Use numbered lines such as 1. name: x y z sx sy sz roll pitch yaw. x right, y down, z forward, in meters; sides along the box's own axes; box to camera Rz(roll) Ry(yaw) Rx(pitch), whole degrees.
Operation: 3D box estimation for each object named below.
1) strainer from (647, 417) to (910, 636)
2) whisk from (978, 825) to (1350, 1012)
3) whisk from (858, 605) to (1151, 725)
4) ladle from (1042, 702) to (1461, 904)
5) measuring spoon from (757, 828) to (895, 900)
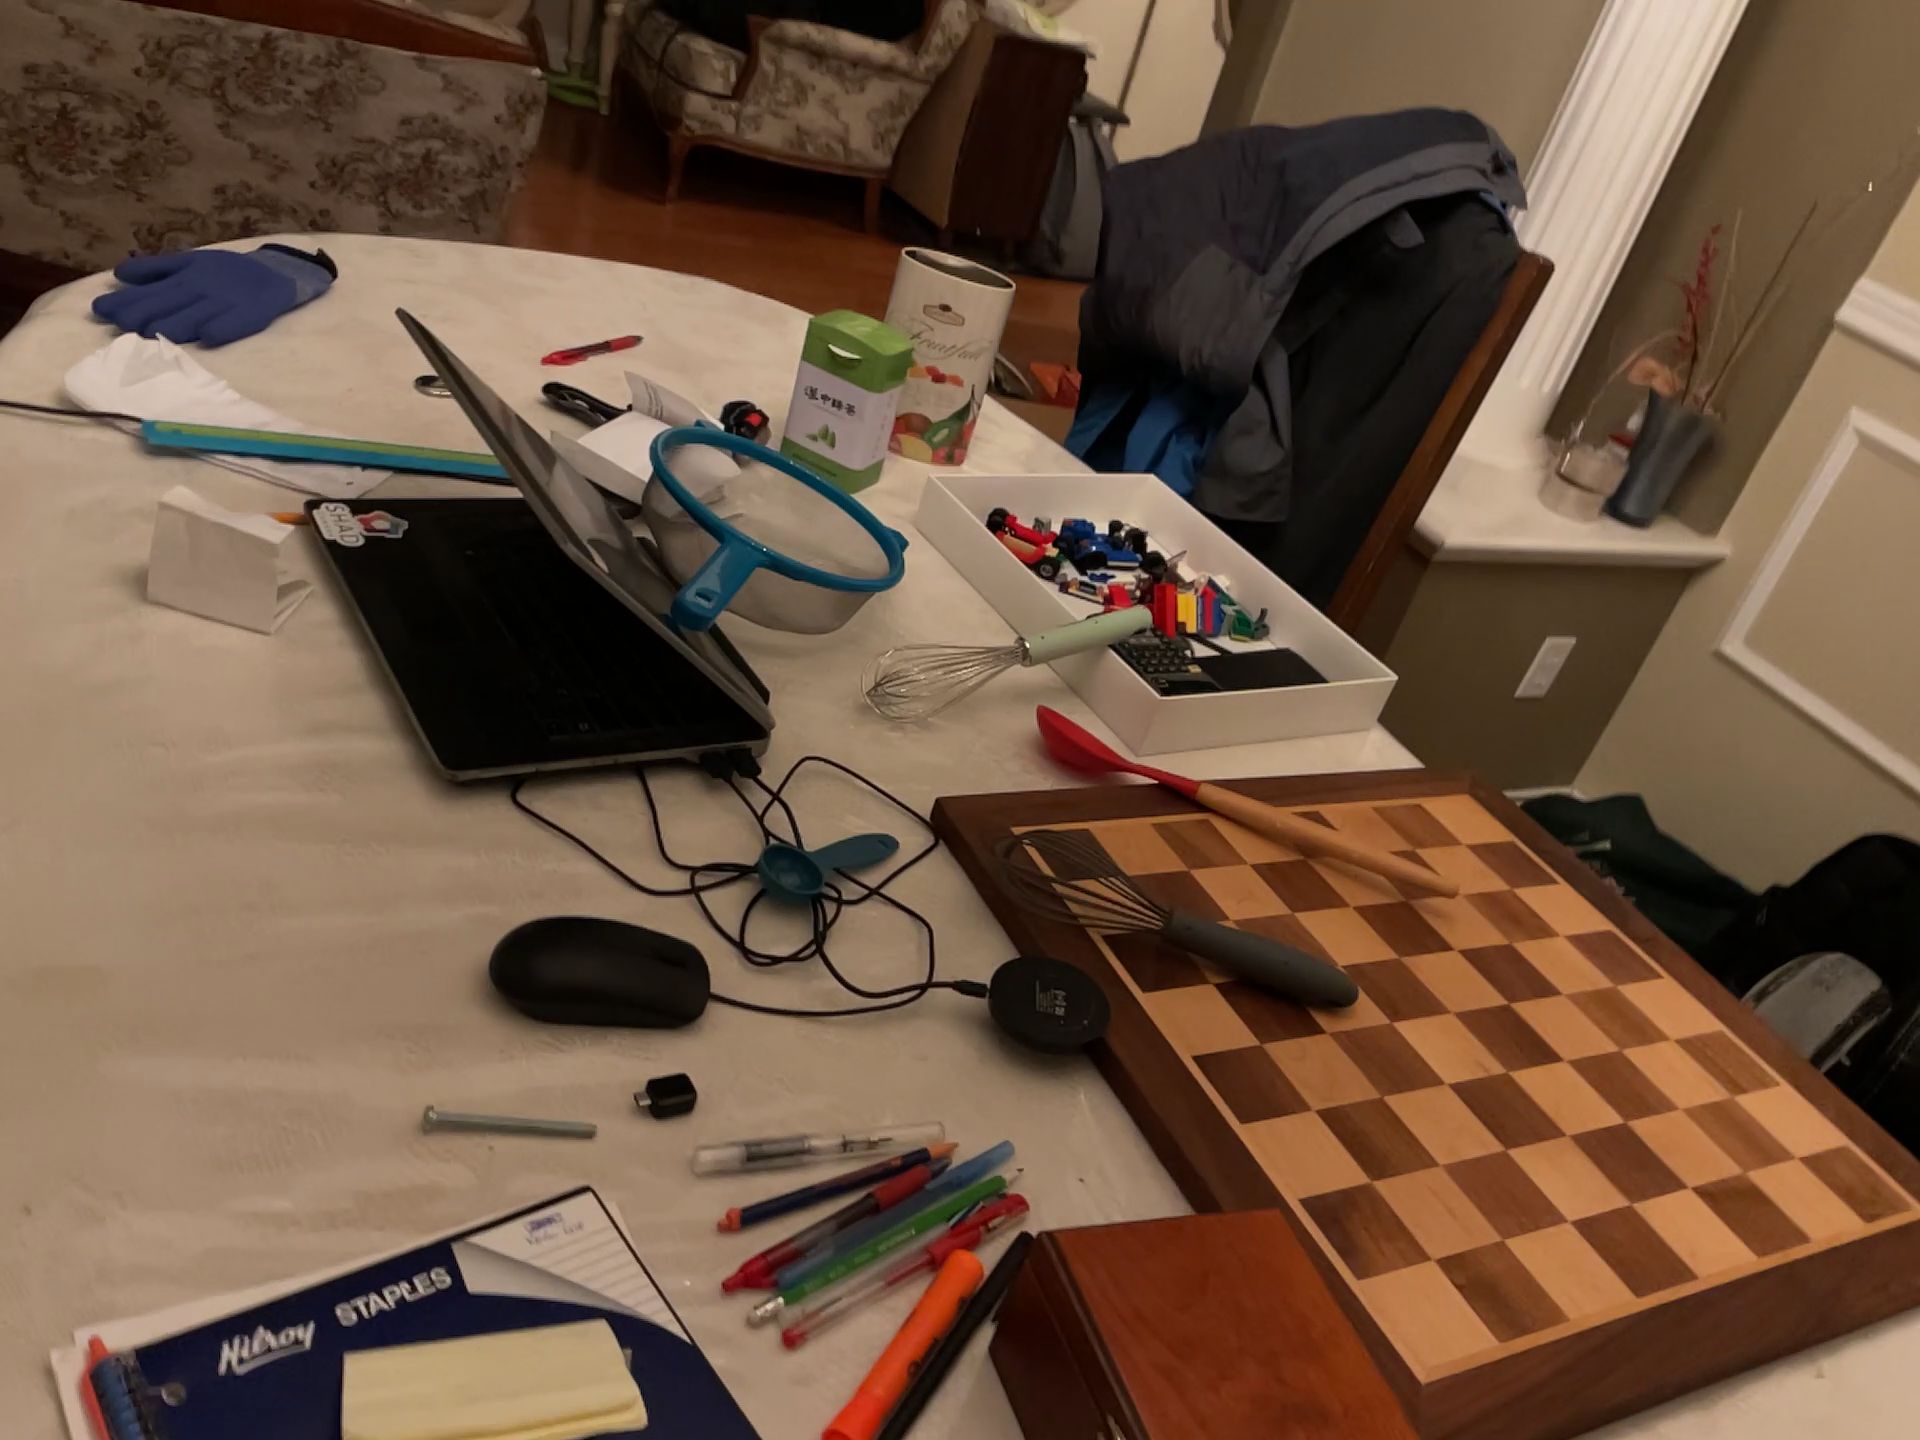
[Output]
1. strainer: -0.162 -0.102 1.141 0.211 0.095 0.340 30 25 -5
2. whisk: 0.123 0.125 0.956 0.239 0.055 0.055 23 44 1
3. whisk: 0.037 -0.048 1.176 0.246 0.058 0.059 -17 73 -25
4. ladle: 0.195 0.060 1.110 0.315 0.031 0.069 23 8 18
5. measuring spoon: -0.080 0.087 0.966 0.042 0.021 0.128 40 24 20
